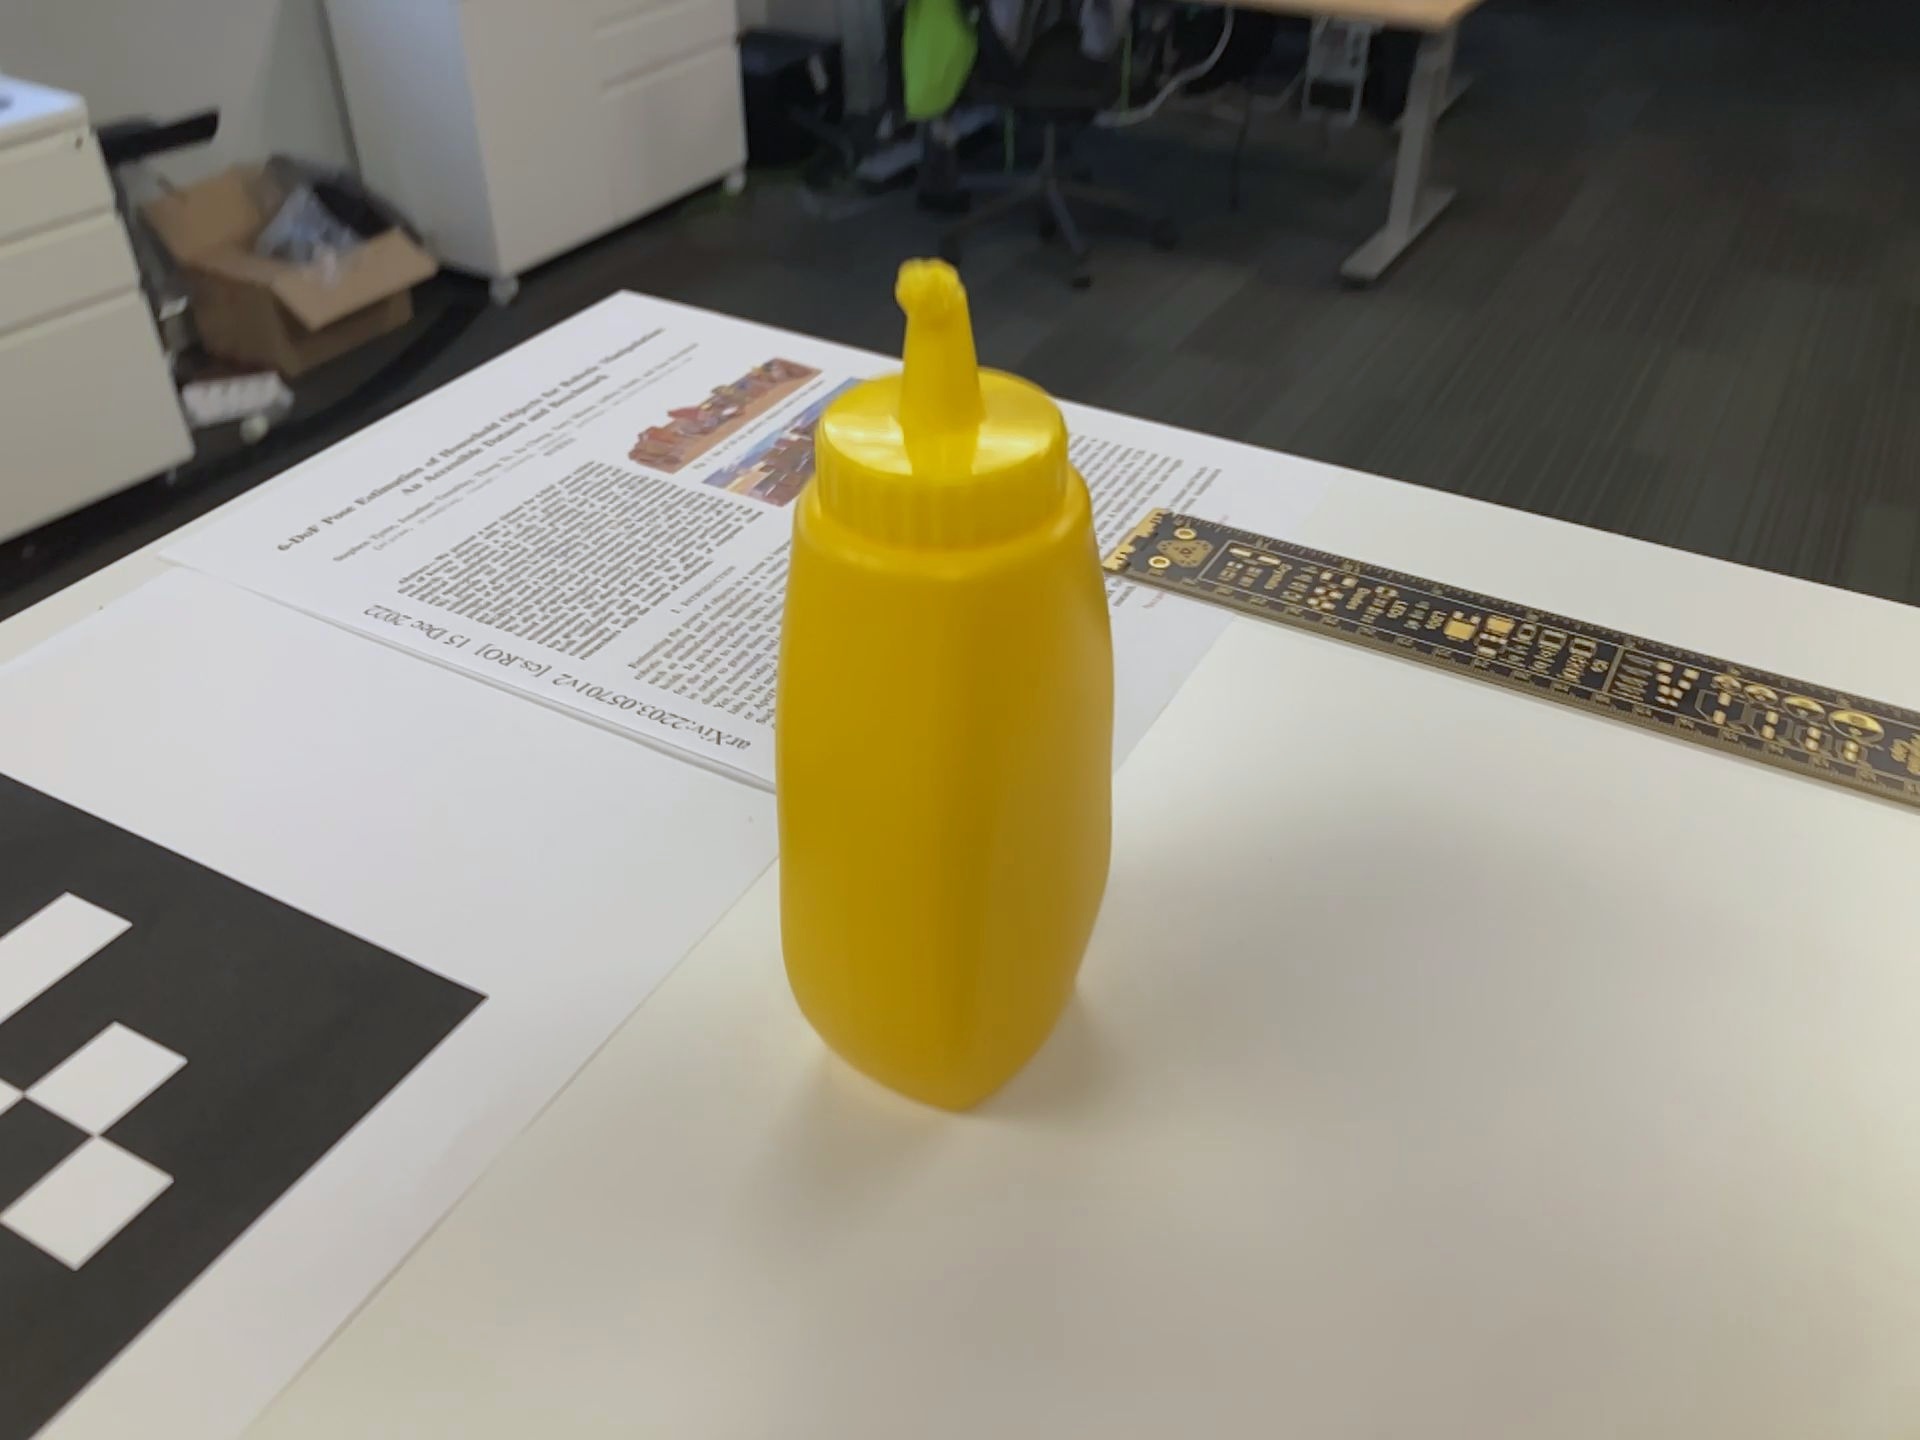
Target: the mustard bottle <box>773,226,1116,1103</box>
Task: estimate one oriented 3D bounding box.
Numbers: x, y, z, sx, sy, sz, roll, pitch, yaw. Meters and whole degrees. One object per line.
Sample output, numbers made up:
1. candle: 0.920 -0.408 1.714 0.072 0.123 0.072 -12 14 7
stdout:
1. mustard bottle: -0.002 -0.007 0.274 0.049 0.160 0.065 20 40 27
